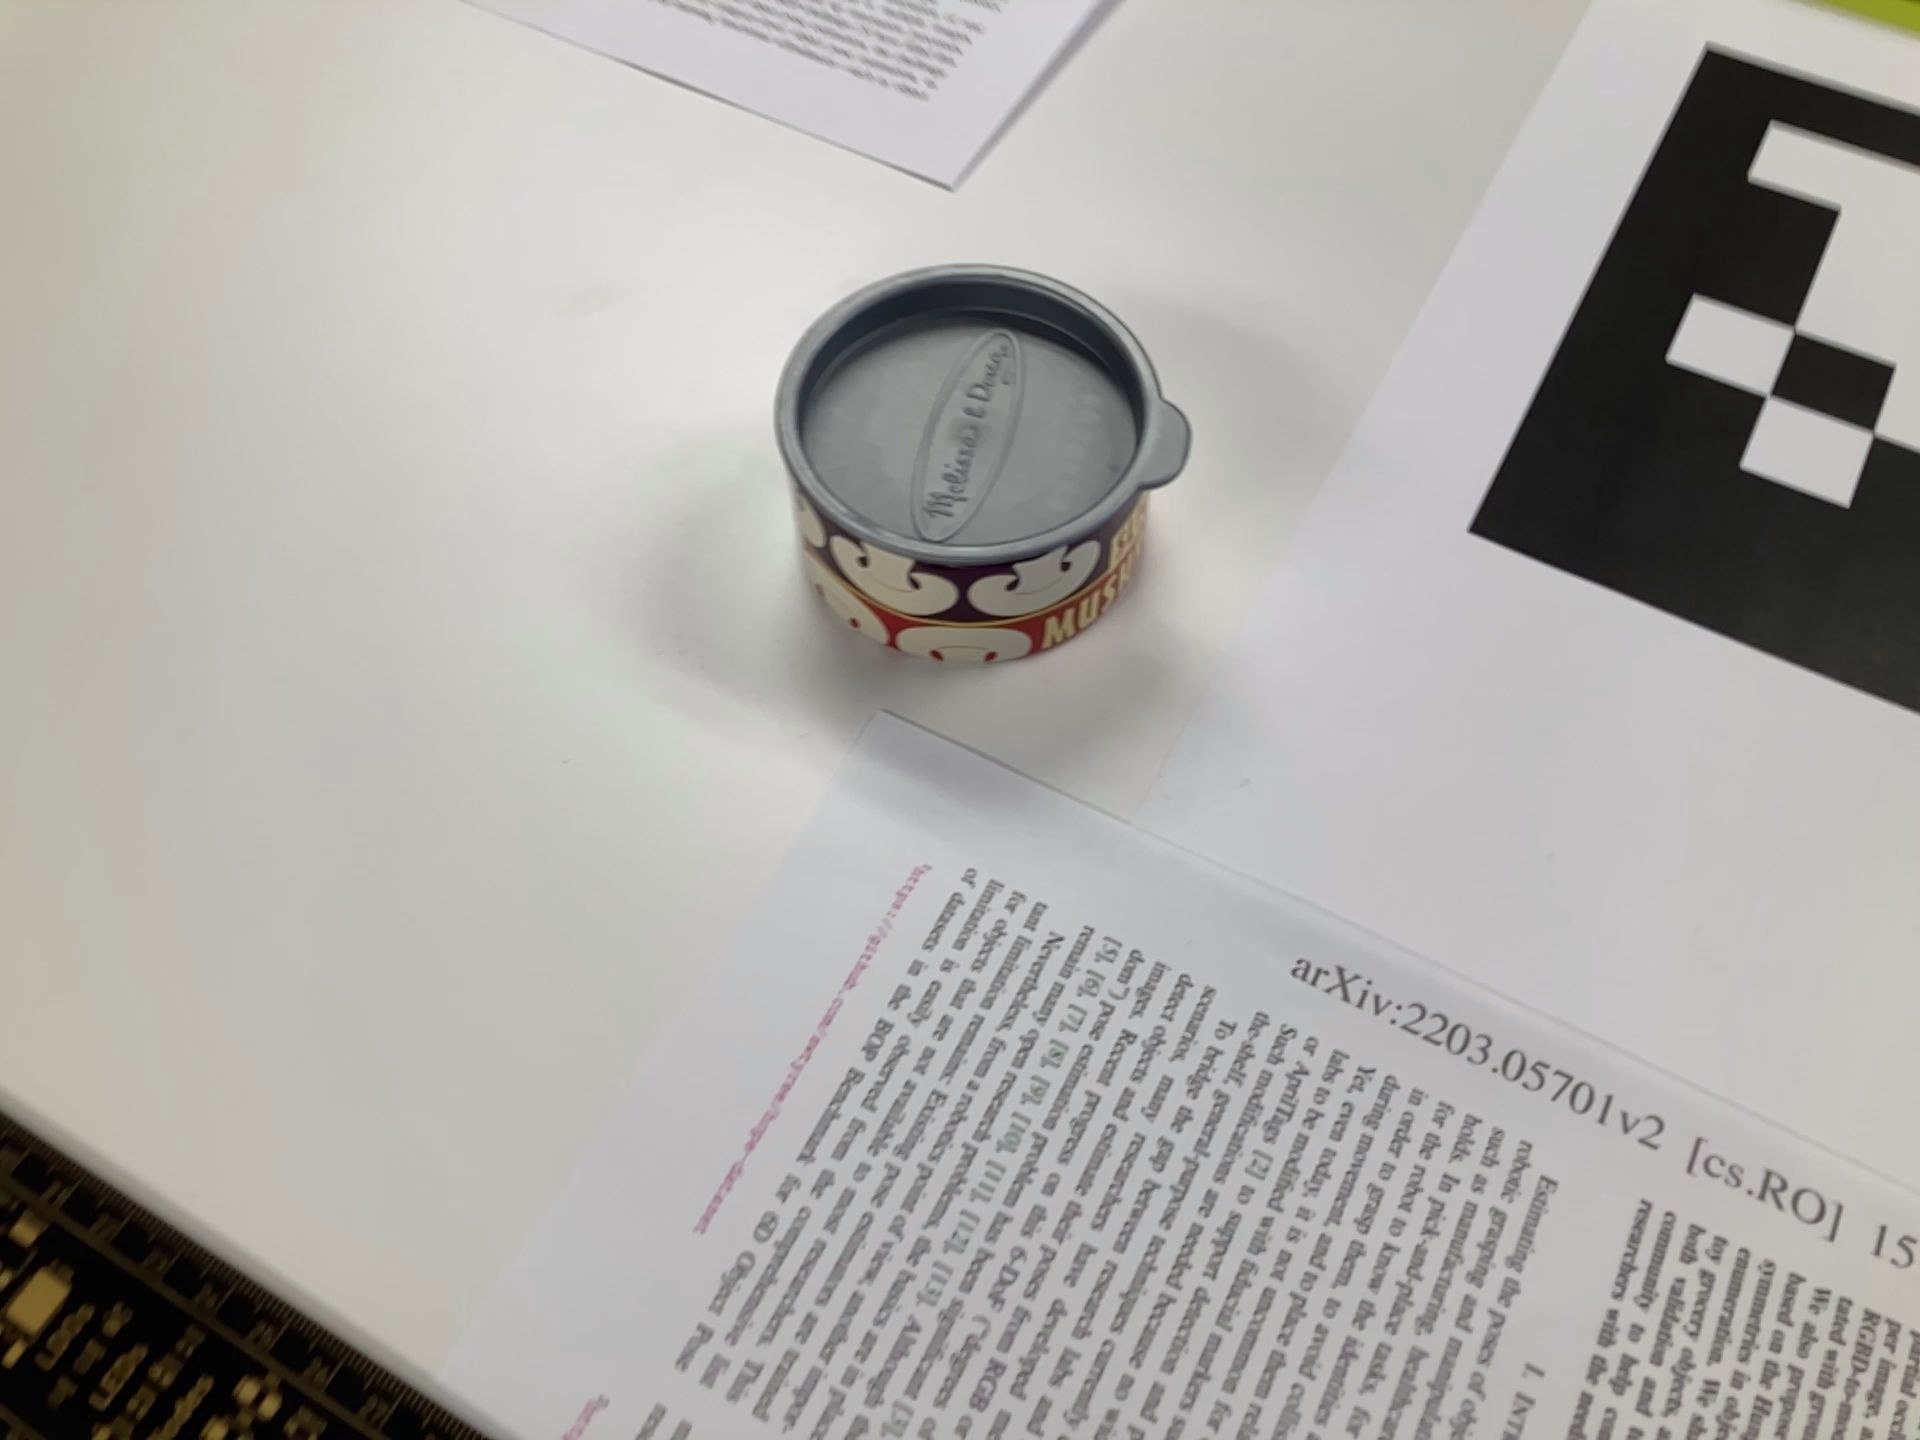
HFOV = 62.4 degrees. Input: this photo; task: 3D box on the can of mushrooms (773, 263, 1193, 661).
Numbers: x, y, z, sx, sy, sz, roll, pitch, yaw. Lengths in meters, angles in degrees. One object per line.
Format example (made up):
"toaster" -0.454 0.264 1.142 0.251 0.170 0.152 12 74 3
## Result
"can of mushrooms" 0.004 -0.045 0.280 0.071 0.033 0.071 0 58 0
